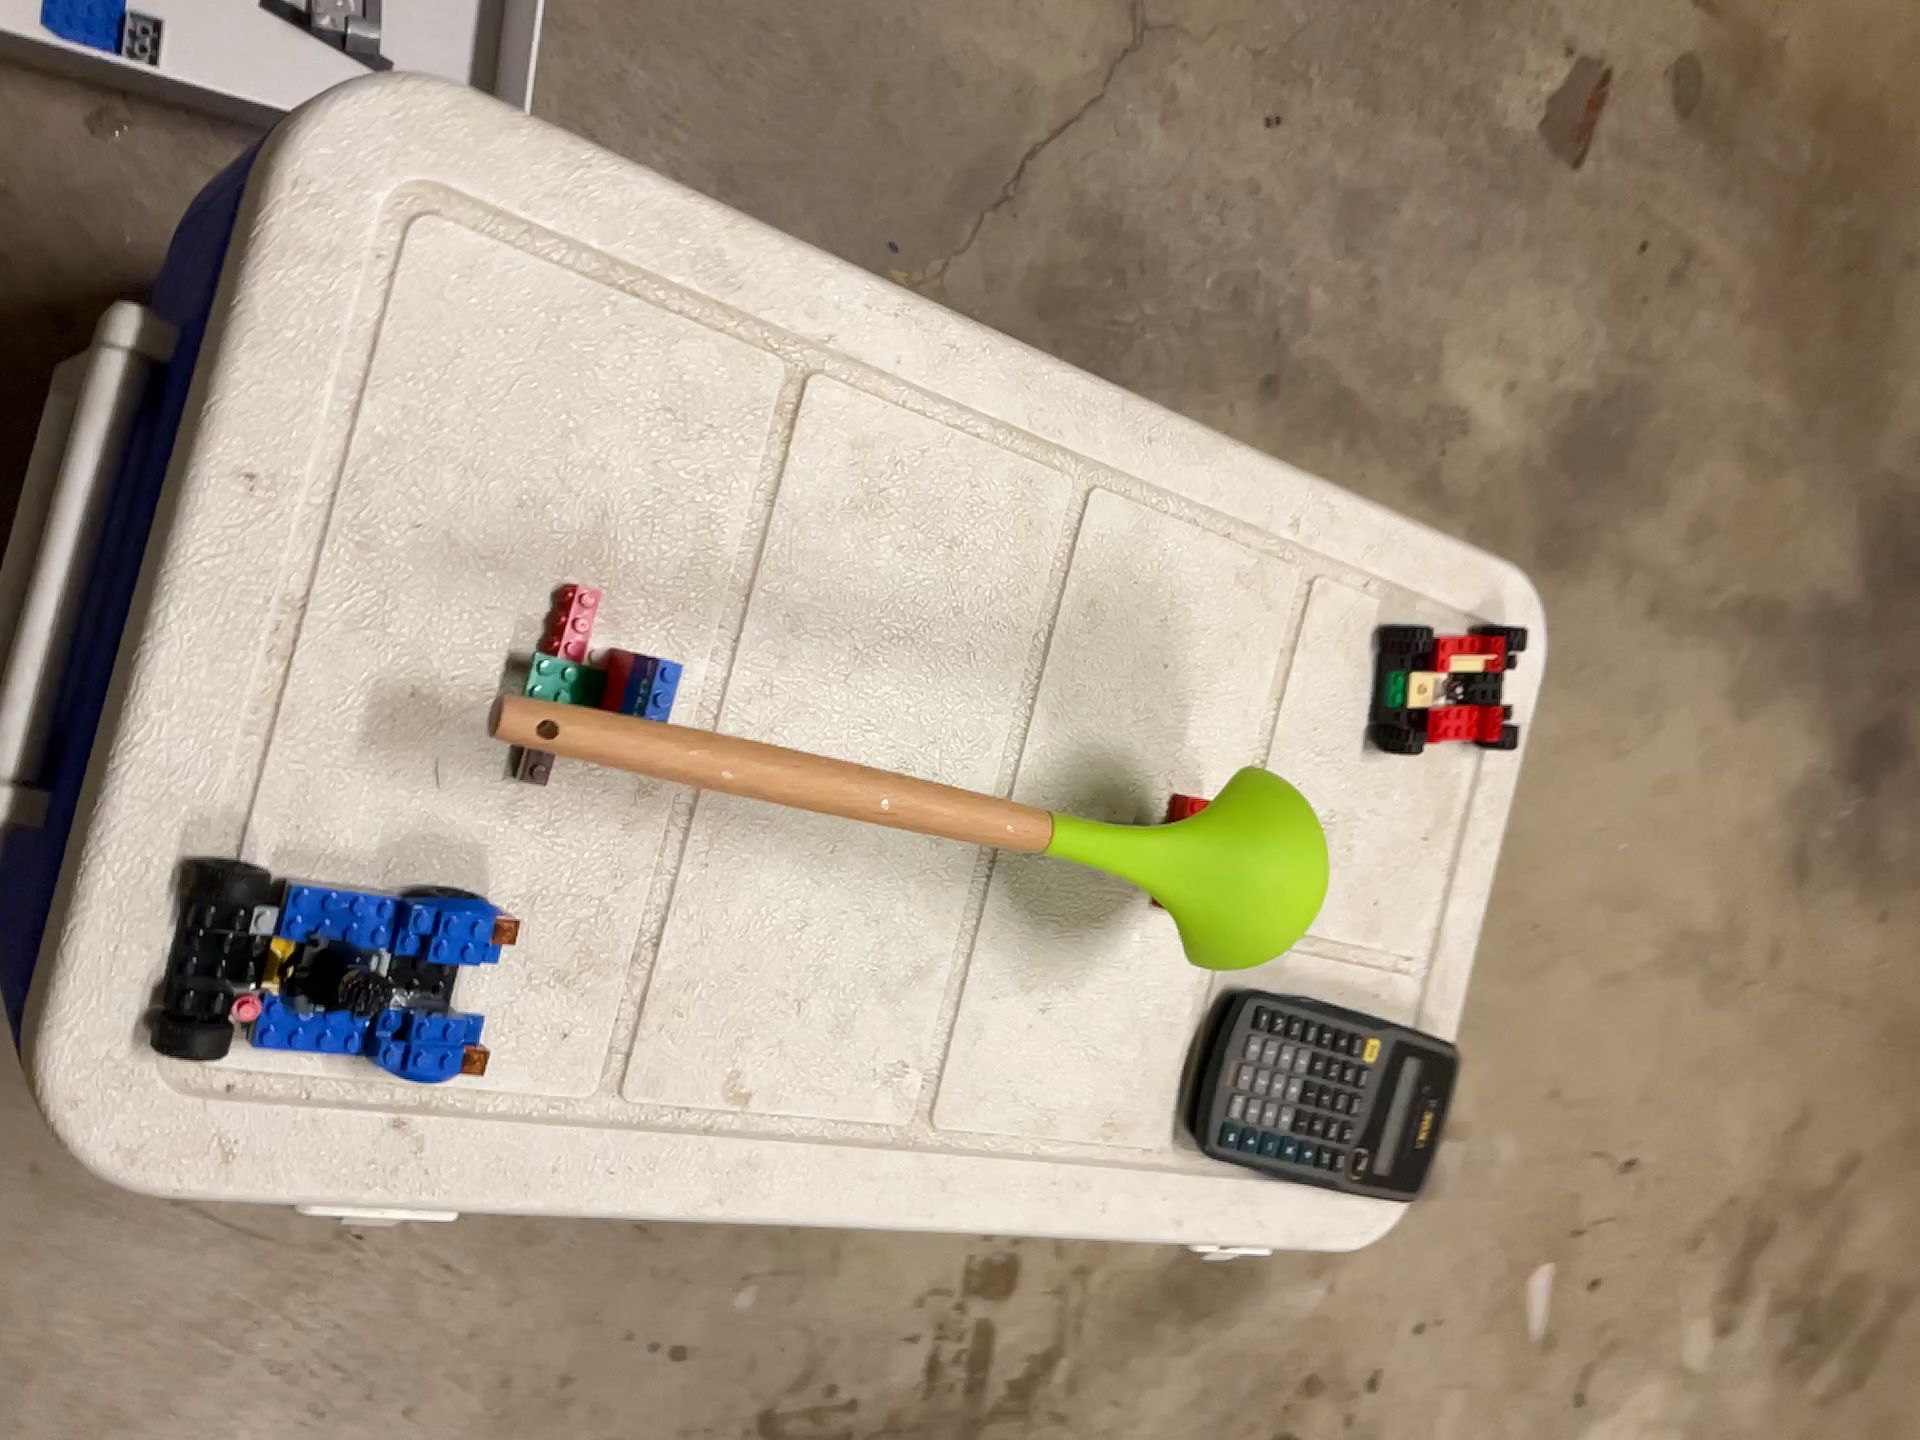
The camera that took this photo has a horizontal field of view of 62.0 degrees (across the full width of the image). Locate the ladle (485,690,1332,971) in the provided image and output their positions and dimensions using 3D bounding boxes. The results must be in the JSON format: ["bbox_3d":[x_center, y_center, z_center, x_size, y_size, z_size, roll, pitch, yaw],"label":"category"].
[{"bbox_3d":[0.000,0.030,0.532,0.320,0.062,0.078,14,95,-28],"label":"ladle"}]
